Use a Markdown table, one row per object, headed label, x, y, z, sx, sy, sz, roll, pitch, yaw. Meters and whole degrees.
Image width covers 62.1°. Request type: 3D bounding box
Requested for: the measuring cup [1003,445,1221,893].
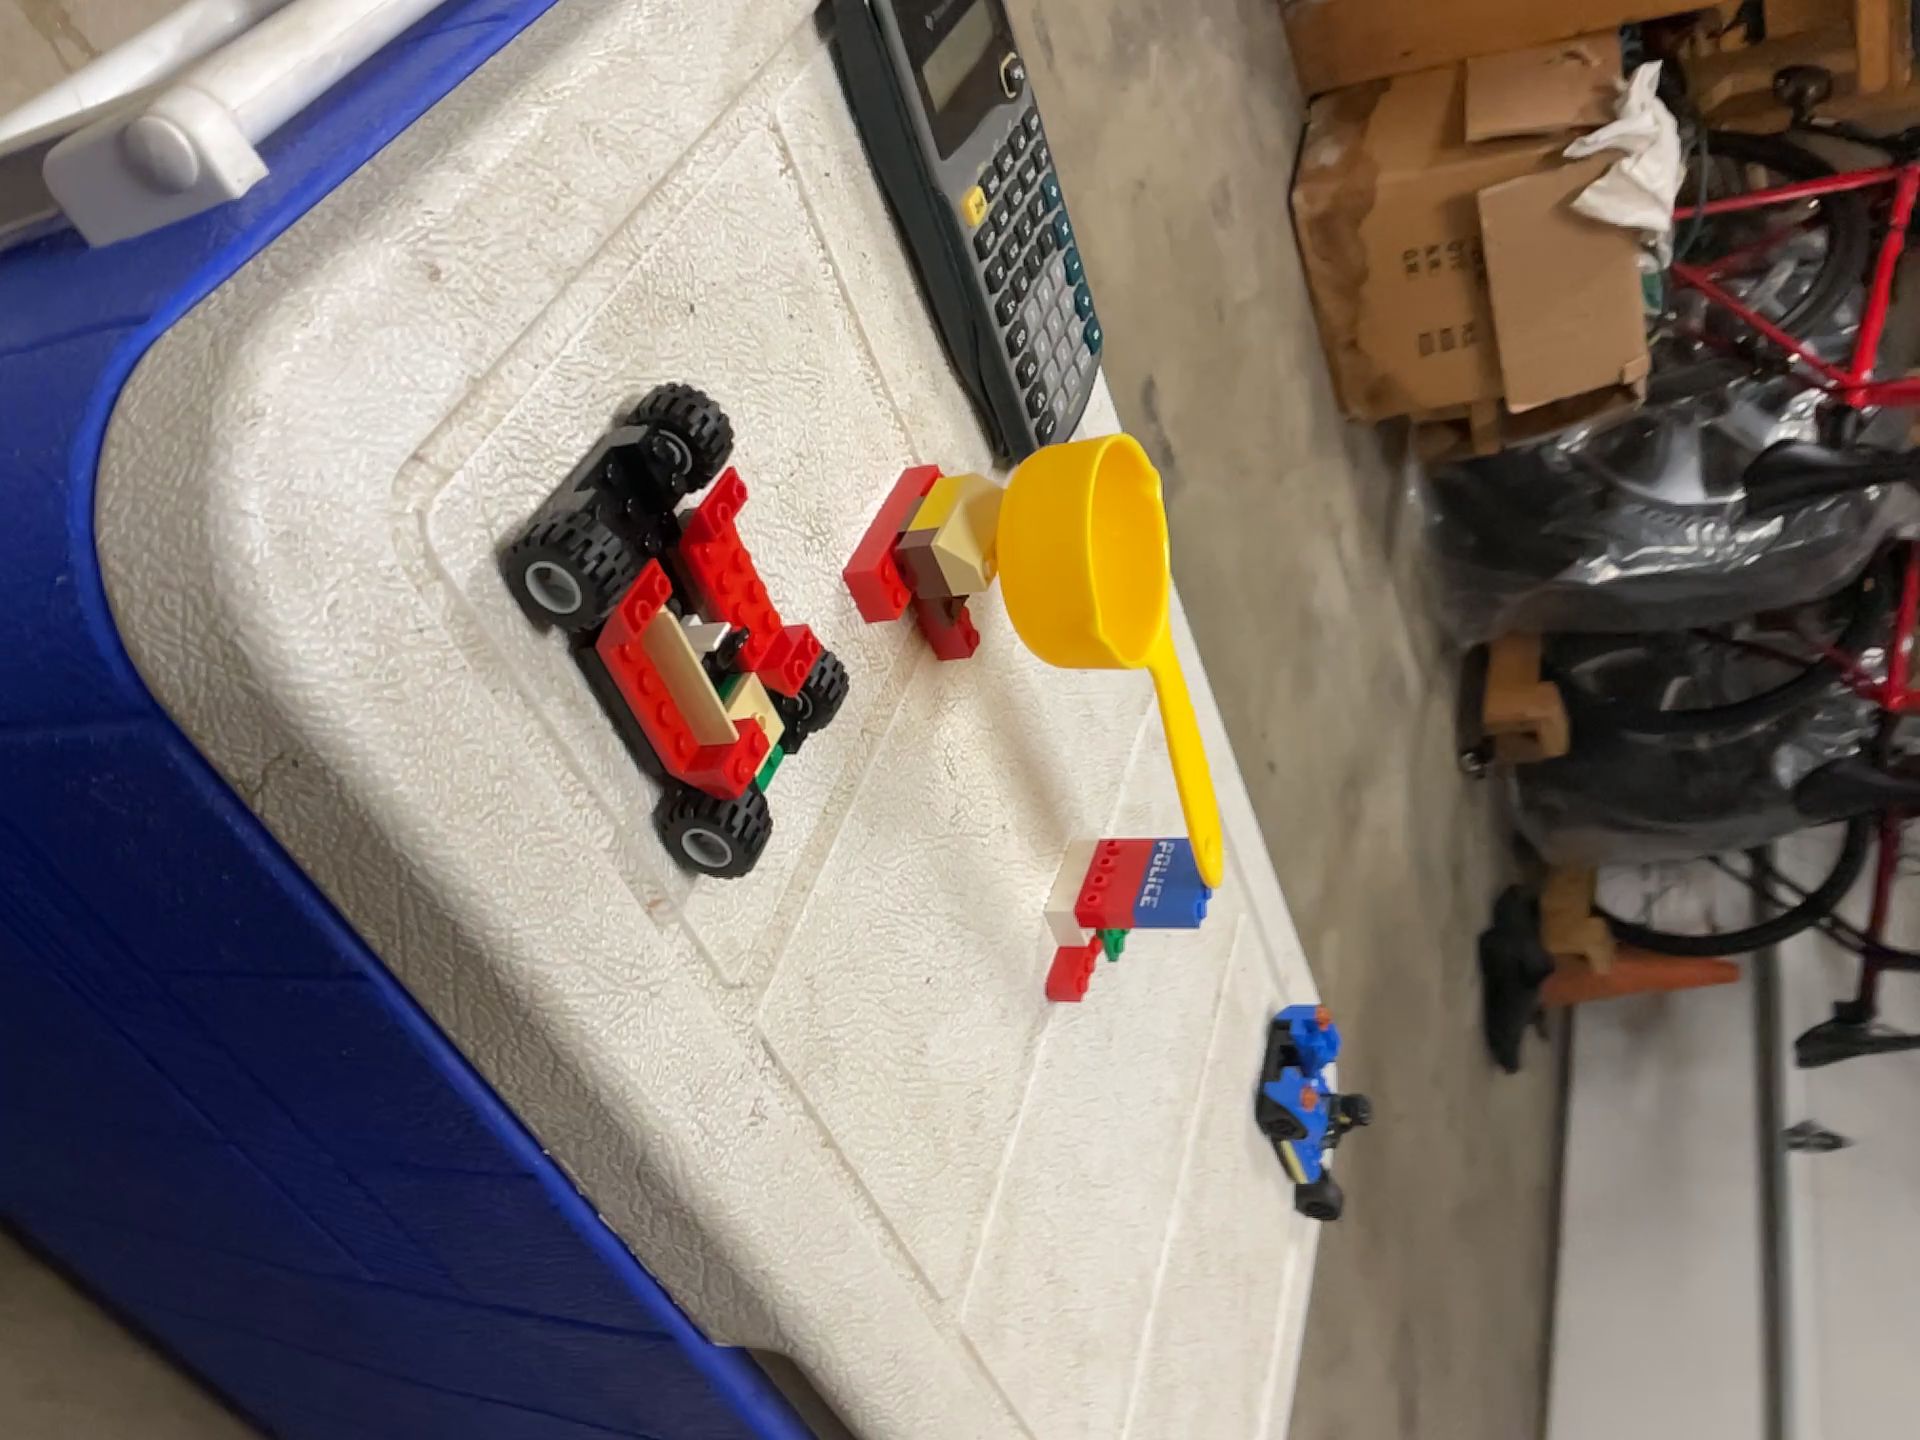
| label | x | y | z | sx | sy | sz | roll | pitch | yaw |
| --- | --- | --- | --- | --- | --- | --- | --- | --- | --- |
| measuring cup | 0.046 | -0.006 | 0.445 | 0.062 | 0.029 | 0.156 | -67 | 147 | -42 |
